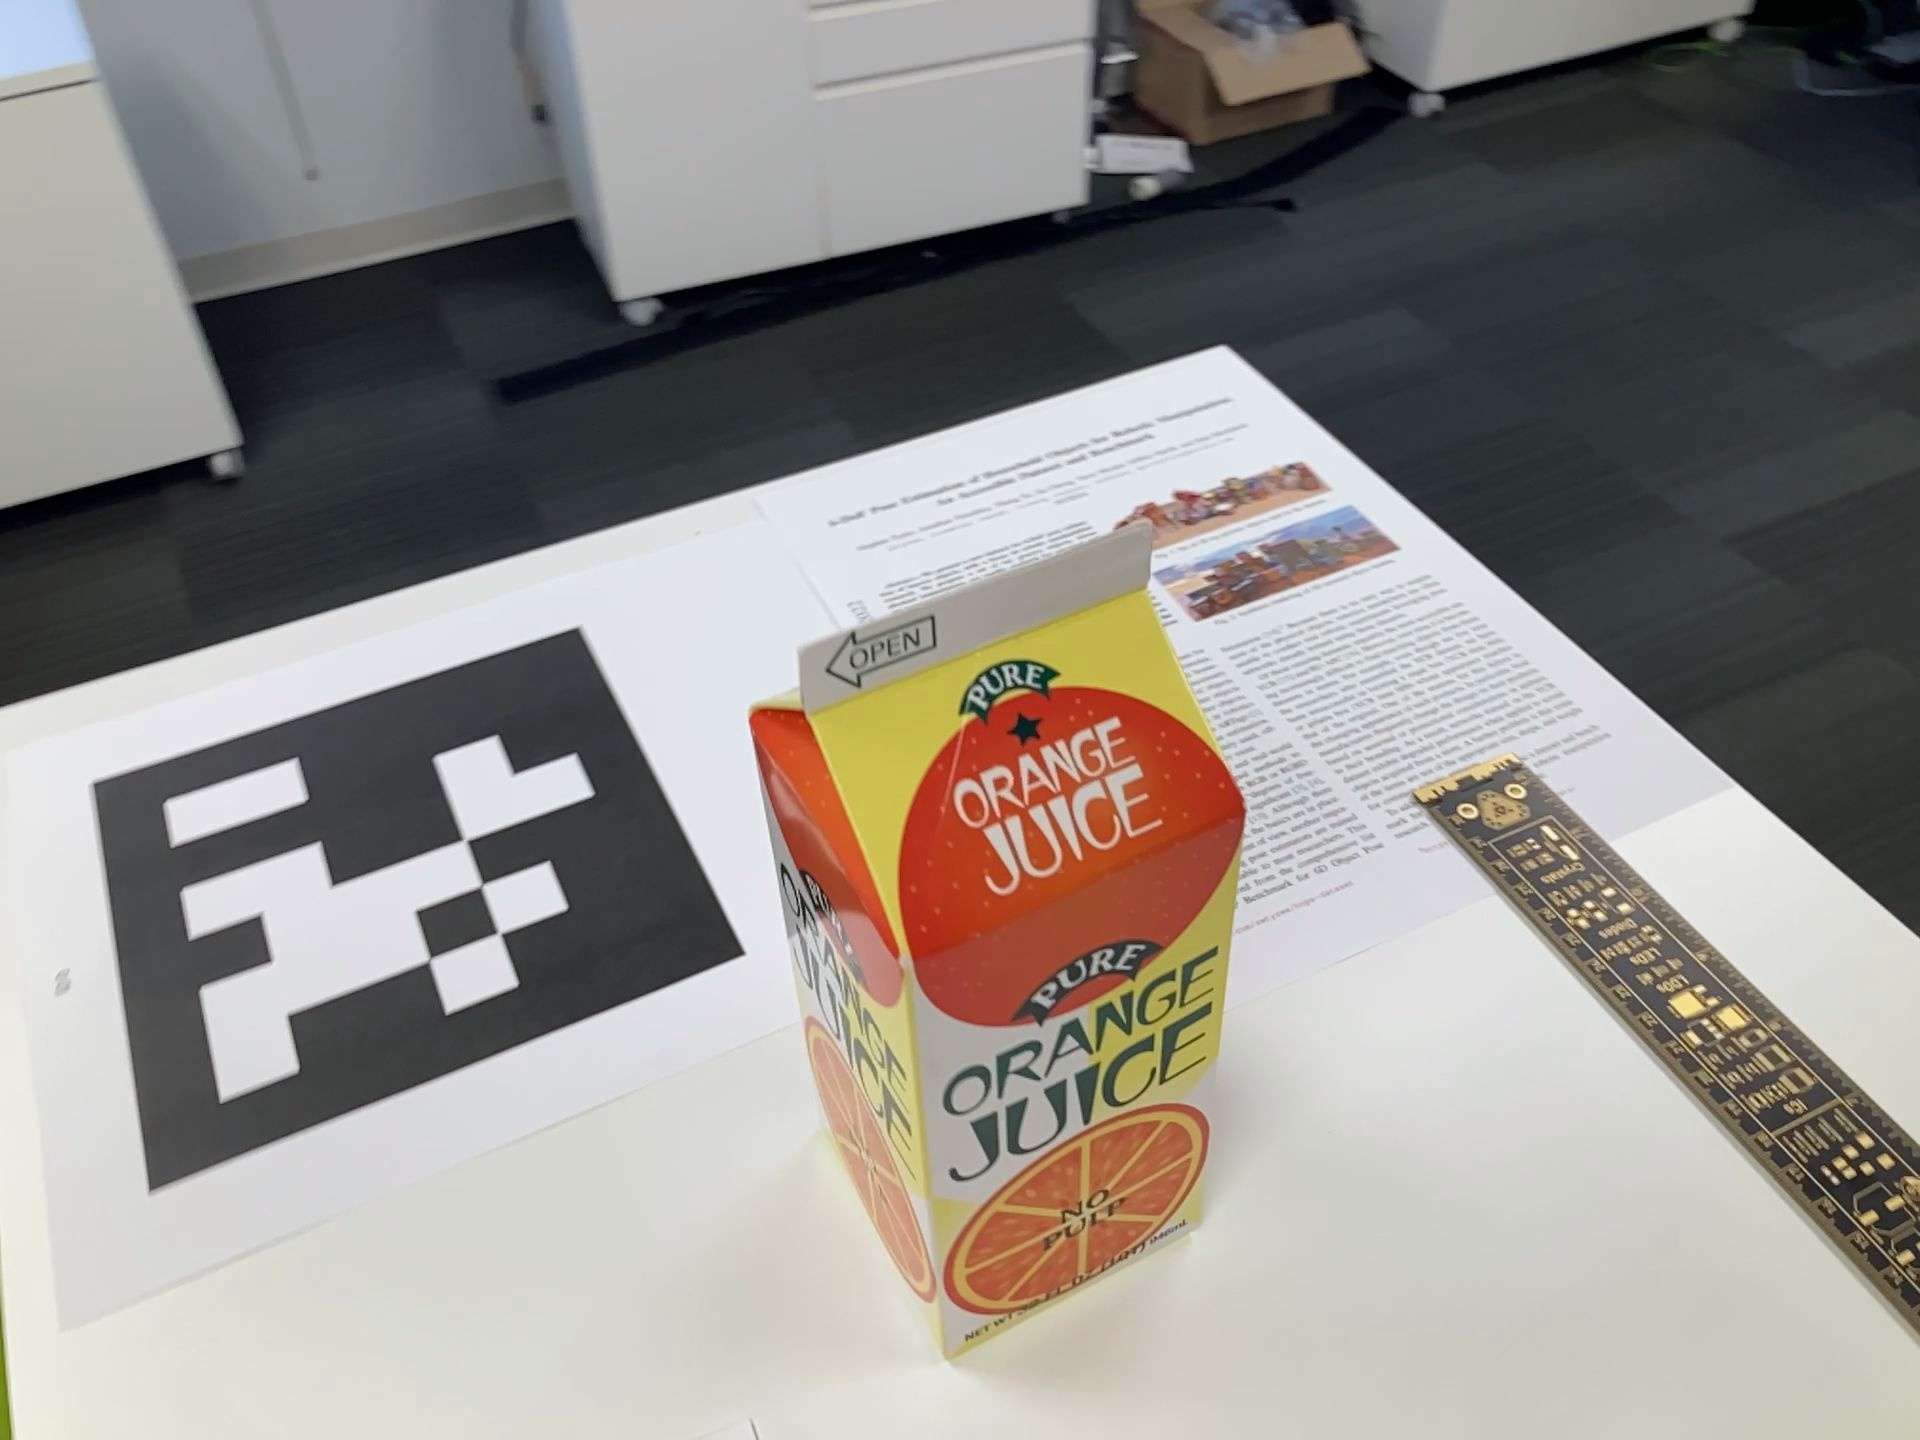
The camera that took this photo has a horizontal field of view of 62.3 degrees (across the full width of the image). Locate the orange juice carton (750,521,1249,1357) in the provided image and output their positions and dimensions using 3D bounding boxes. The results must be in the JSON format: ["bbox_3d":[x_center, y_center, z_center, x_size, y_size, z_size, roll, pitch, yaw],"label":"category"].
[{"bbox_3d":[0.008,0.046,0.335,0.072,0.192,0.073,-21,47,-18],"label":"orange juice carton"}]
